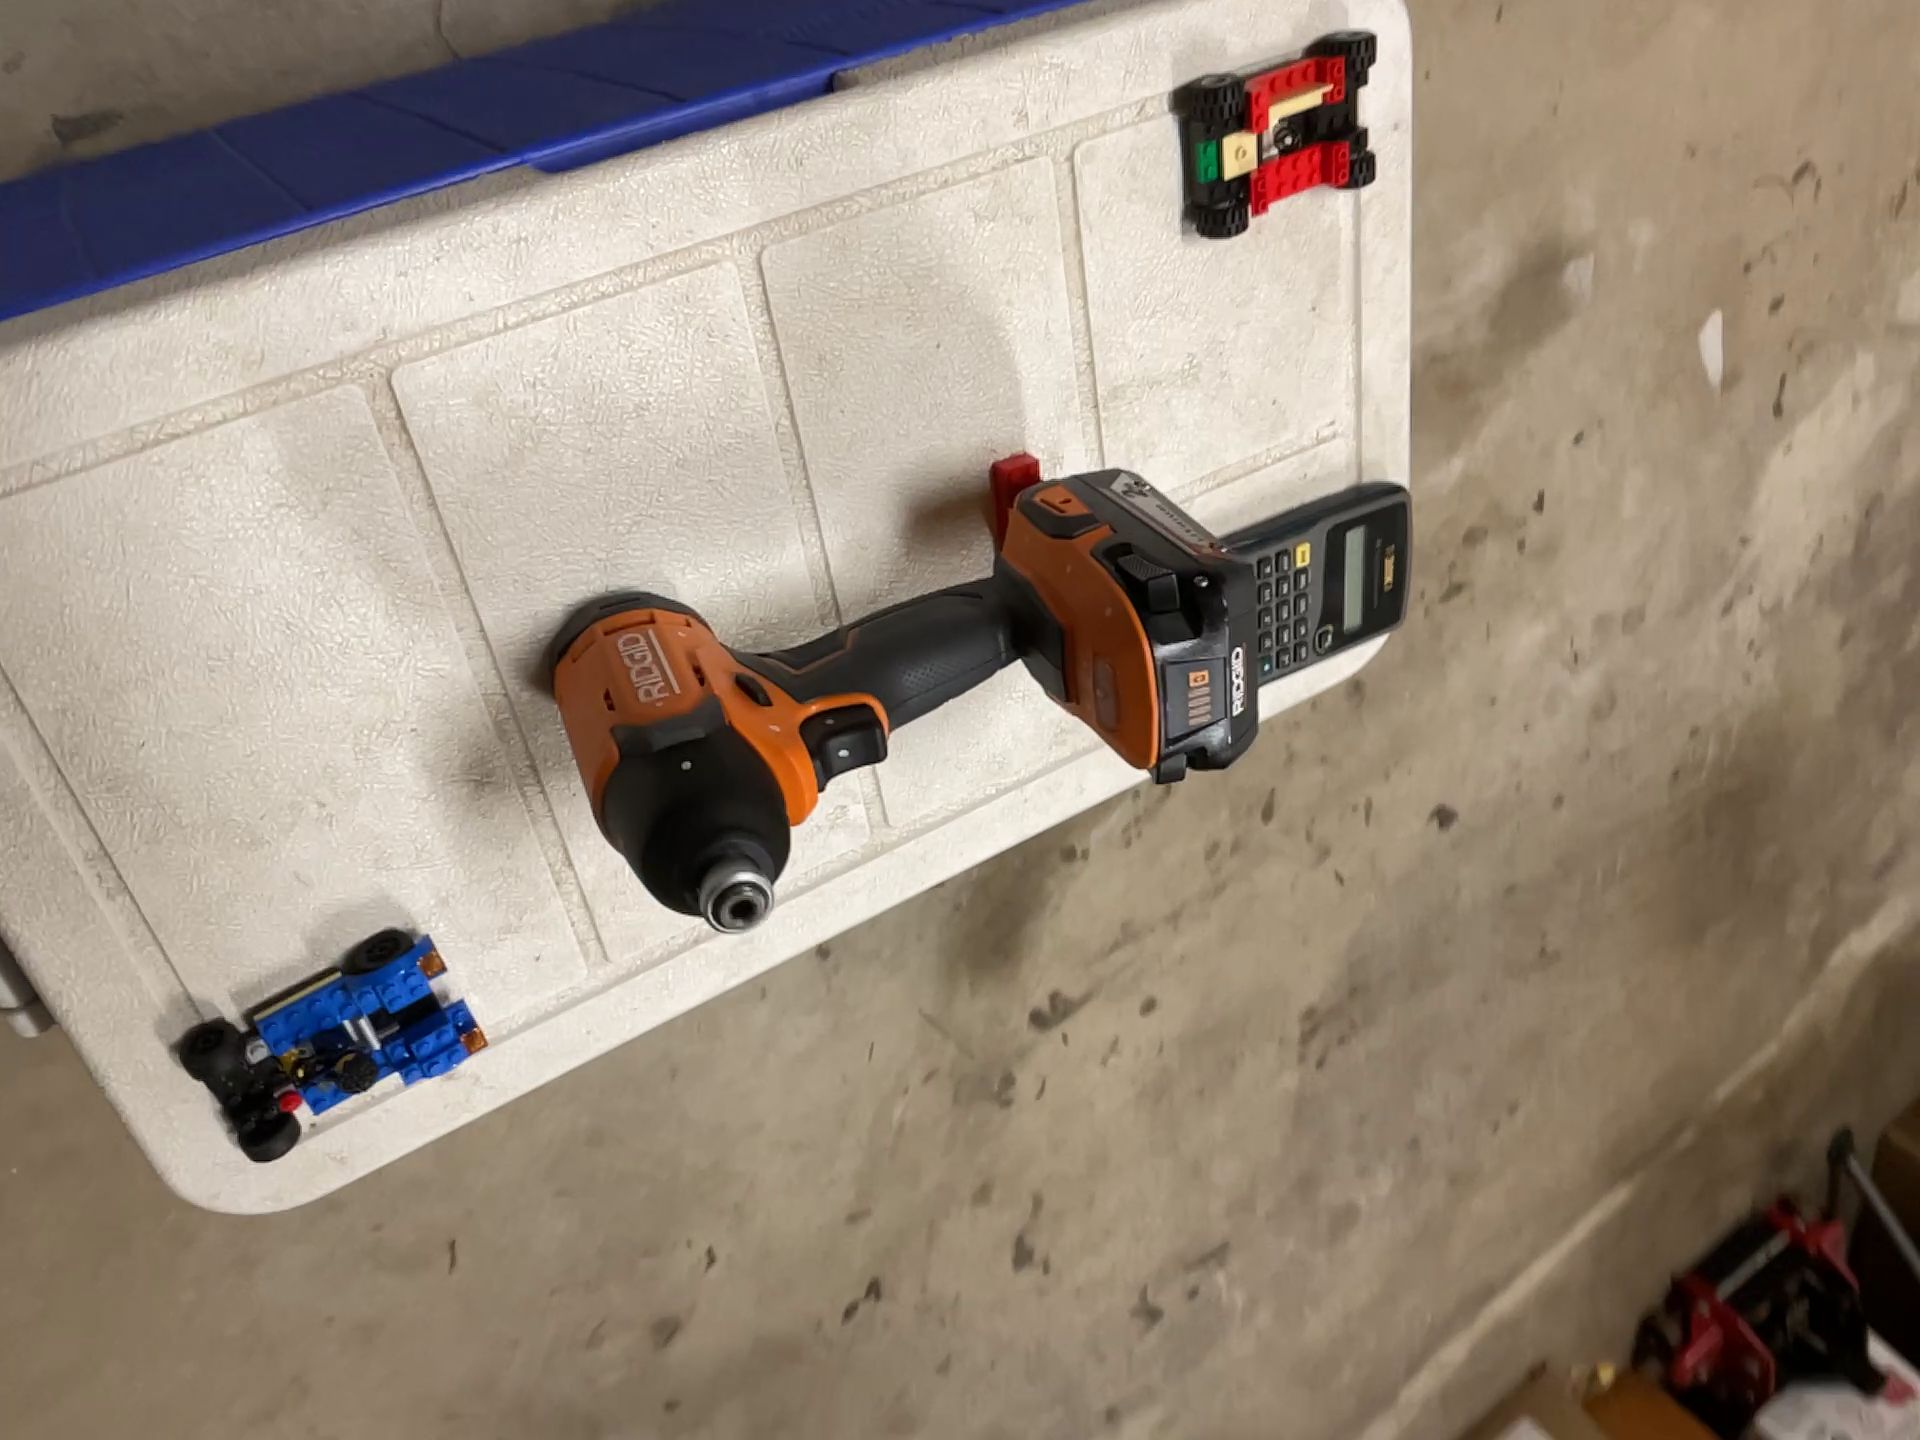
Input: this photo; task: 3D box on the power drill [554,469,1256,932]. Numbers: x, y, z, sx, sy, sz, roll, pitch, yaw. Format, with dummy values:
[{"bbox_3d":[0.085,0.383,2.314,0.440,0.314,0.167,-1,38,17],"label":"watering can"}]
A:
[{"bbox_3d":[-0.016,-0.006,0.546,0.226,0.164,0.084,-16,124,-13],"label":"power drill"}]
